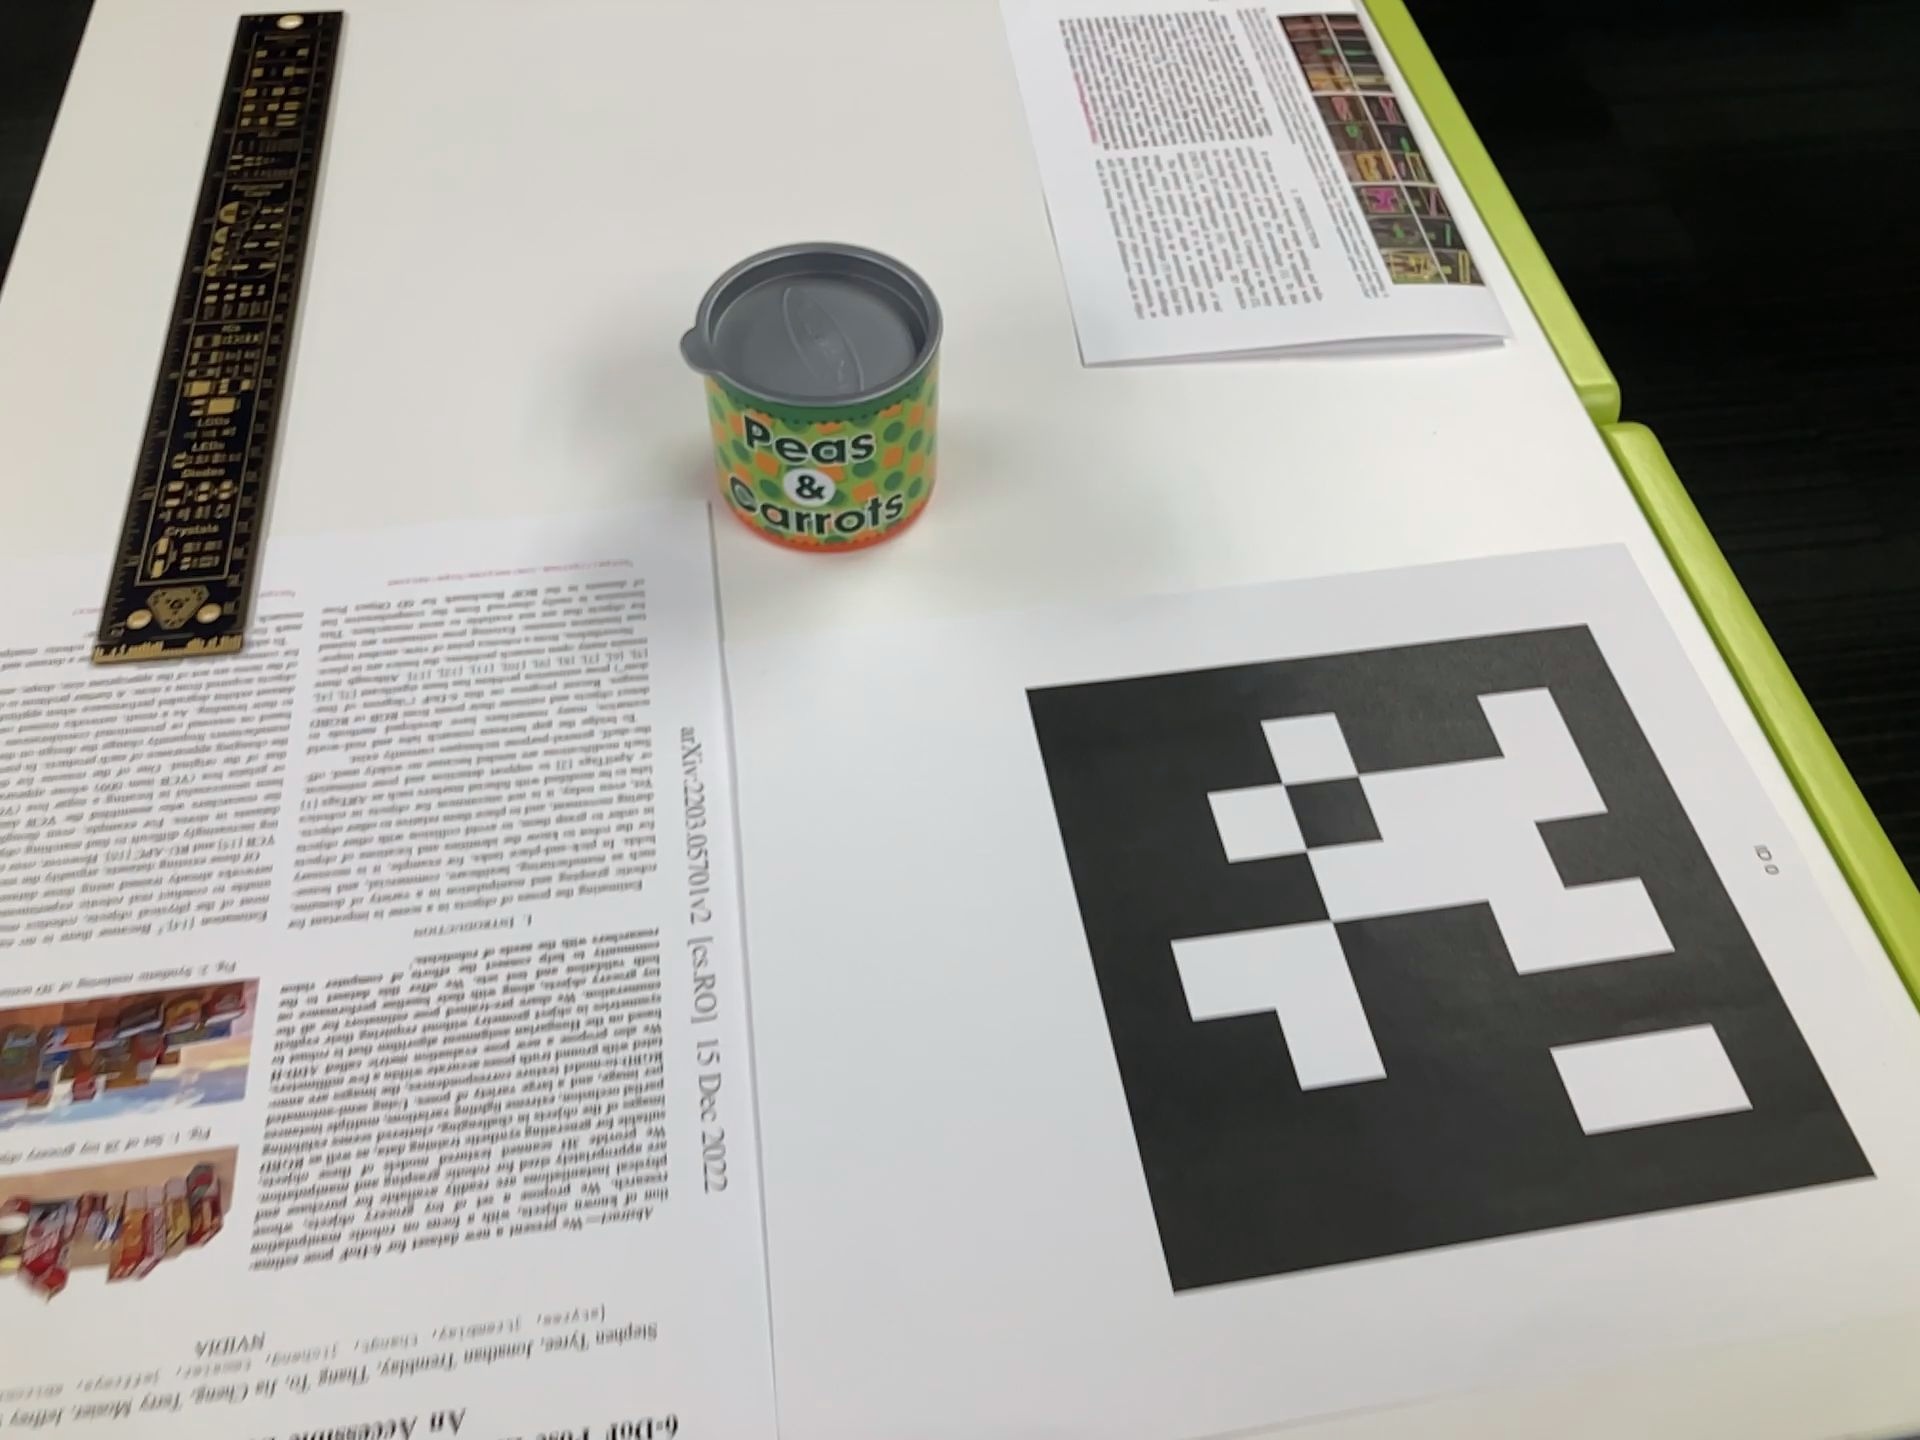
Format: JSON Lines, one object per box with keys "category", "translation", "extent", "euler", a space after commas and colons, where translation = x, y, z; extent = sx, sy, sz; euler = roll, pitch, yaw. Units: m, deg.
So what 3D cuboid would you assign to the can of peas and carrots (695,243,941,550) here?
{"category": "can of peas and carrots", "translation": [-0.039, -0.089, 0.448], "extent": [0.071, 0.059, 0.071], "euler": [1, 53, -1]}
